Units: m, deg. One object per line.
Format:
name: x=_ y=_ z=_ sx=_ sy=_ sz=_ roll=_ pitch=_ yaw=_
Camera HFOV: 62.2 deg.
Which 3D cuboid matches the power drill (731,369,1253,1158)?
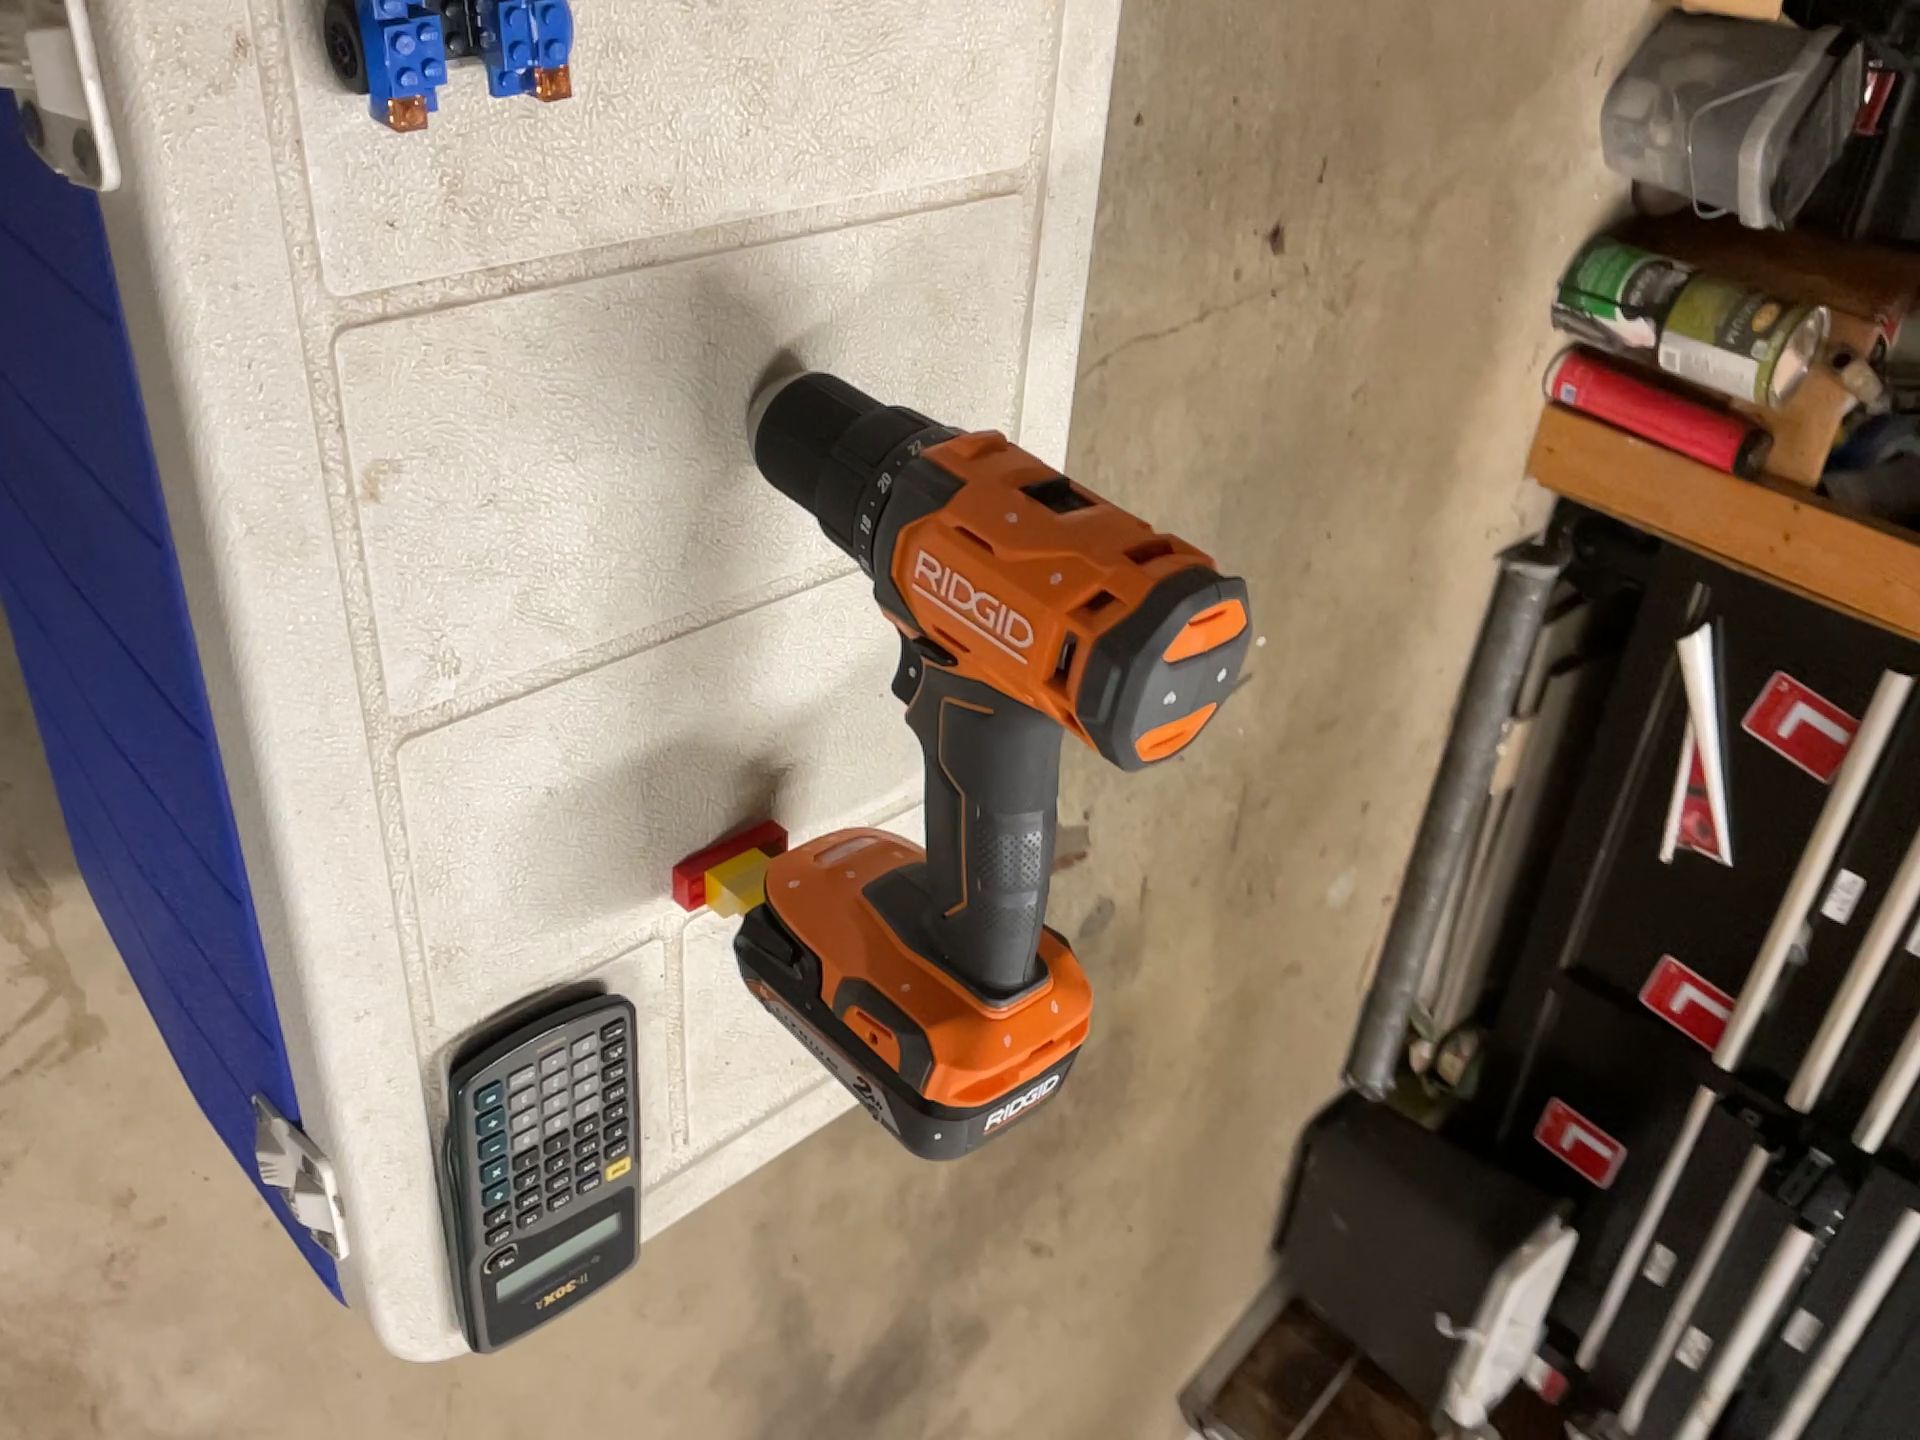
power drill: x=-0.016 y=0.008 z=0.527 sx=0.084 sy=0.185 sz=0.226 roll=-22 pitch=137 yaw=-42
